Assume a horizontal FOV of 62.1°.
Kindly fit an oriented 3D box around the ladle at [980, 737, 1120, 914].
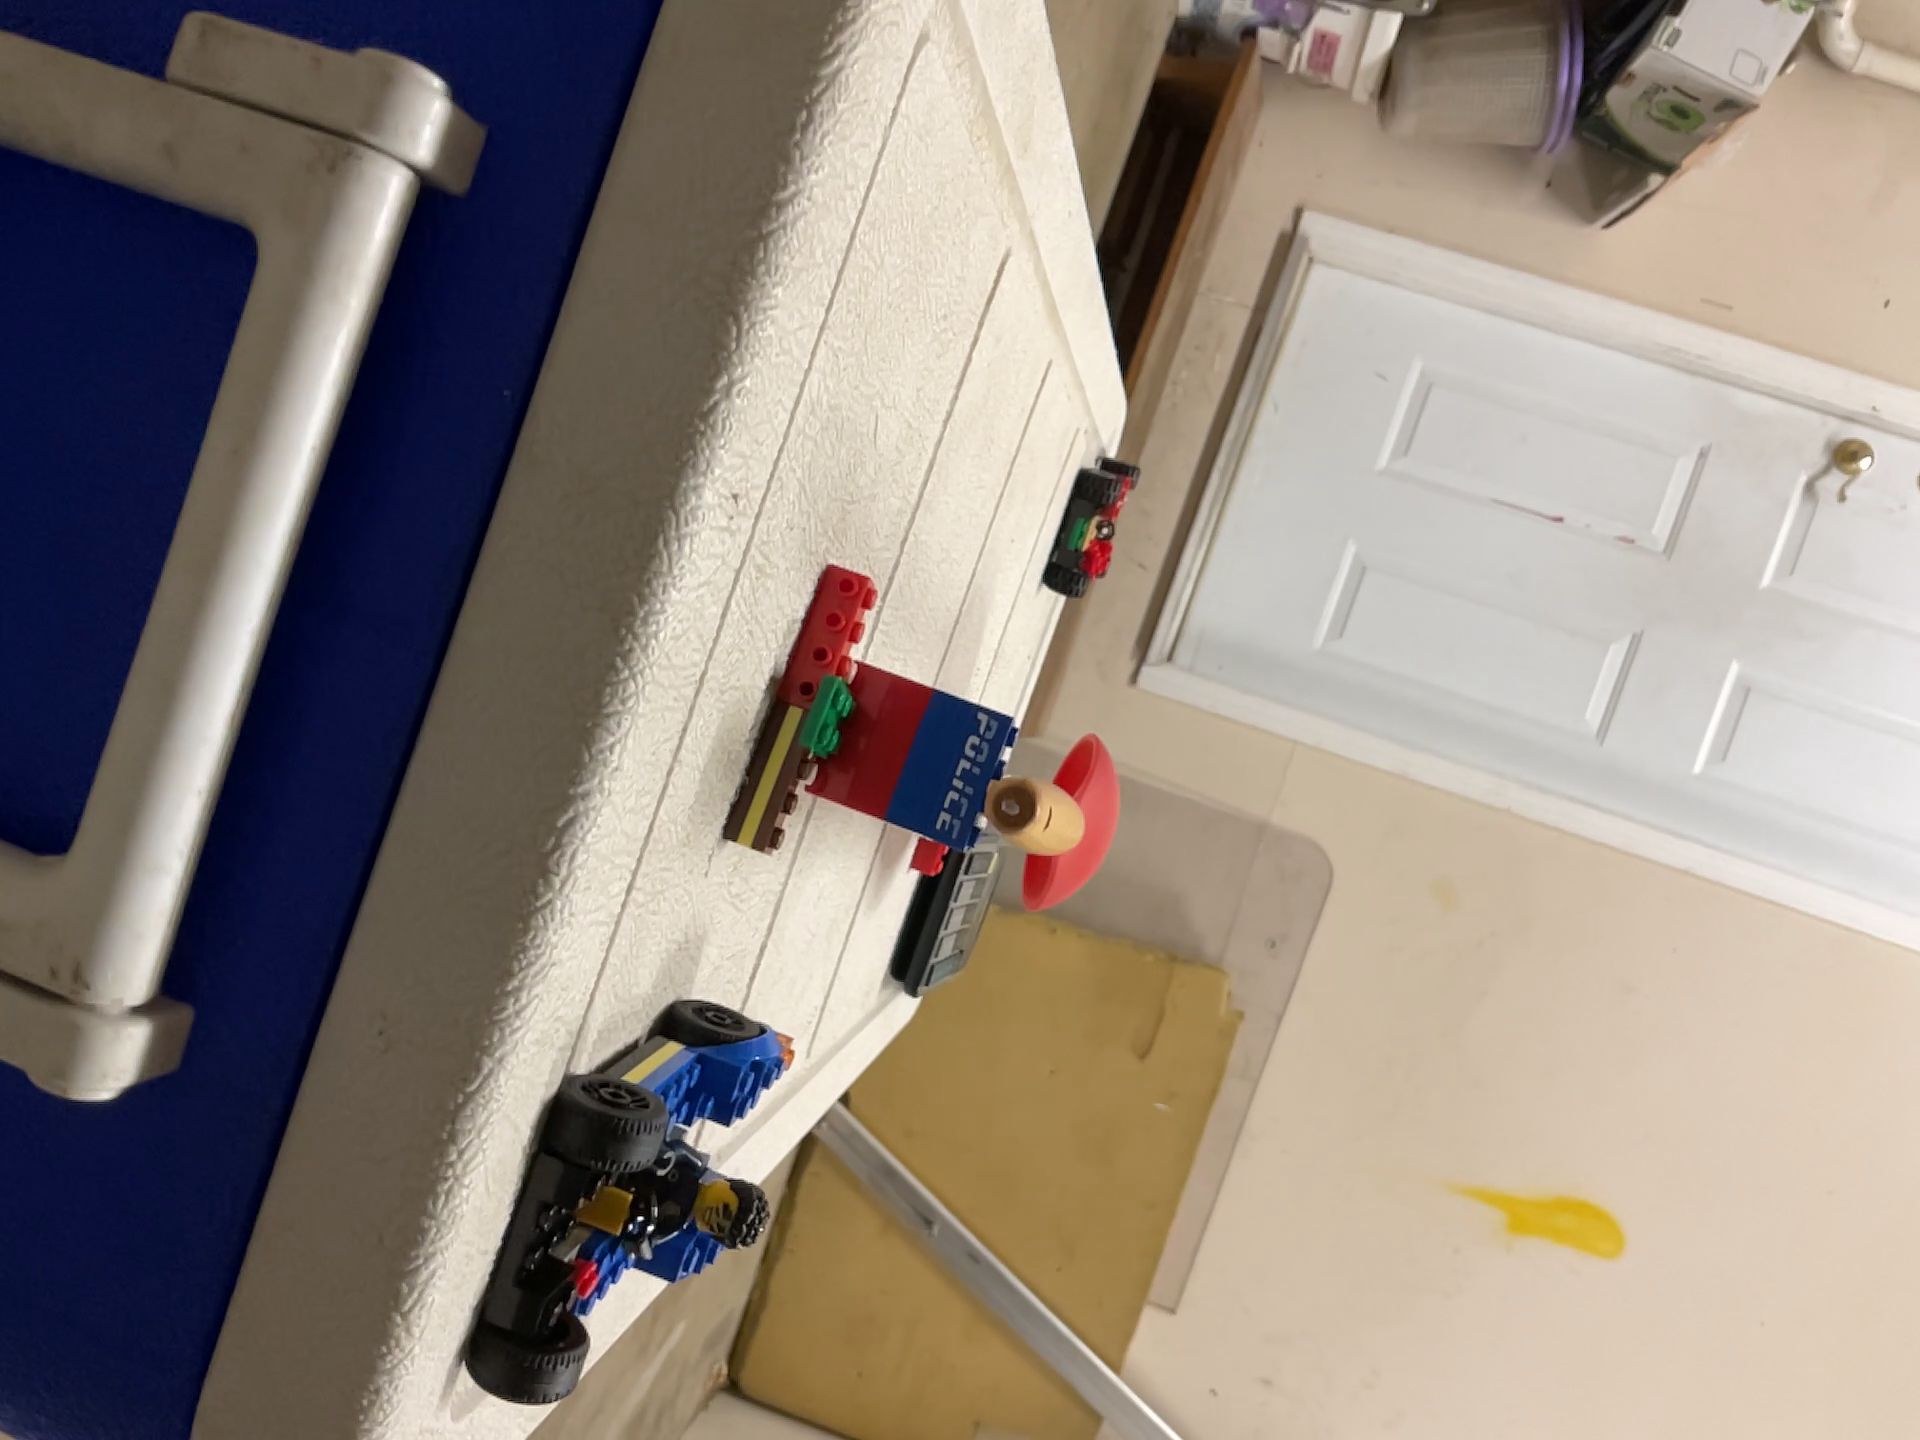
[{"bbox_3d":[0.027,0.029,0.470,0.315,0.031,0.069,38,73,-82],"label":"ladle"}]
